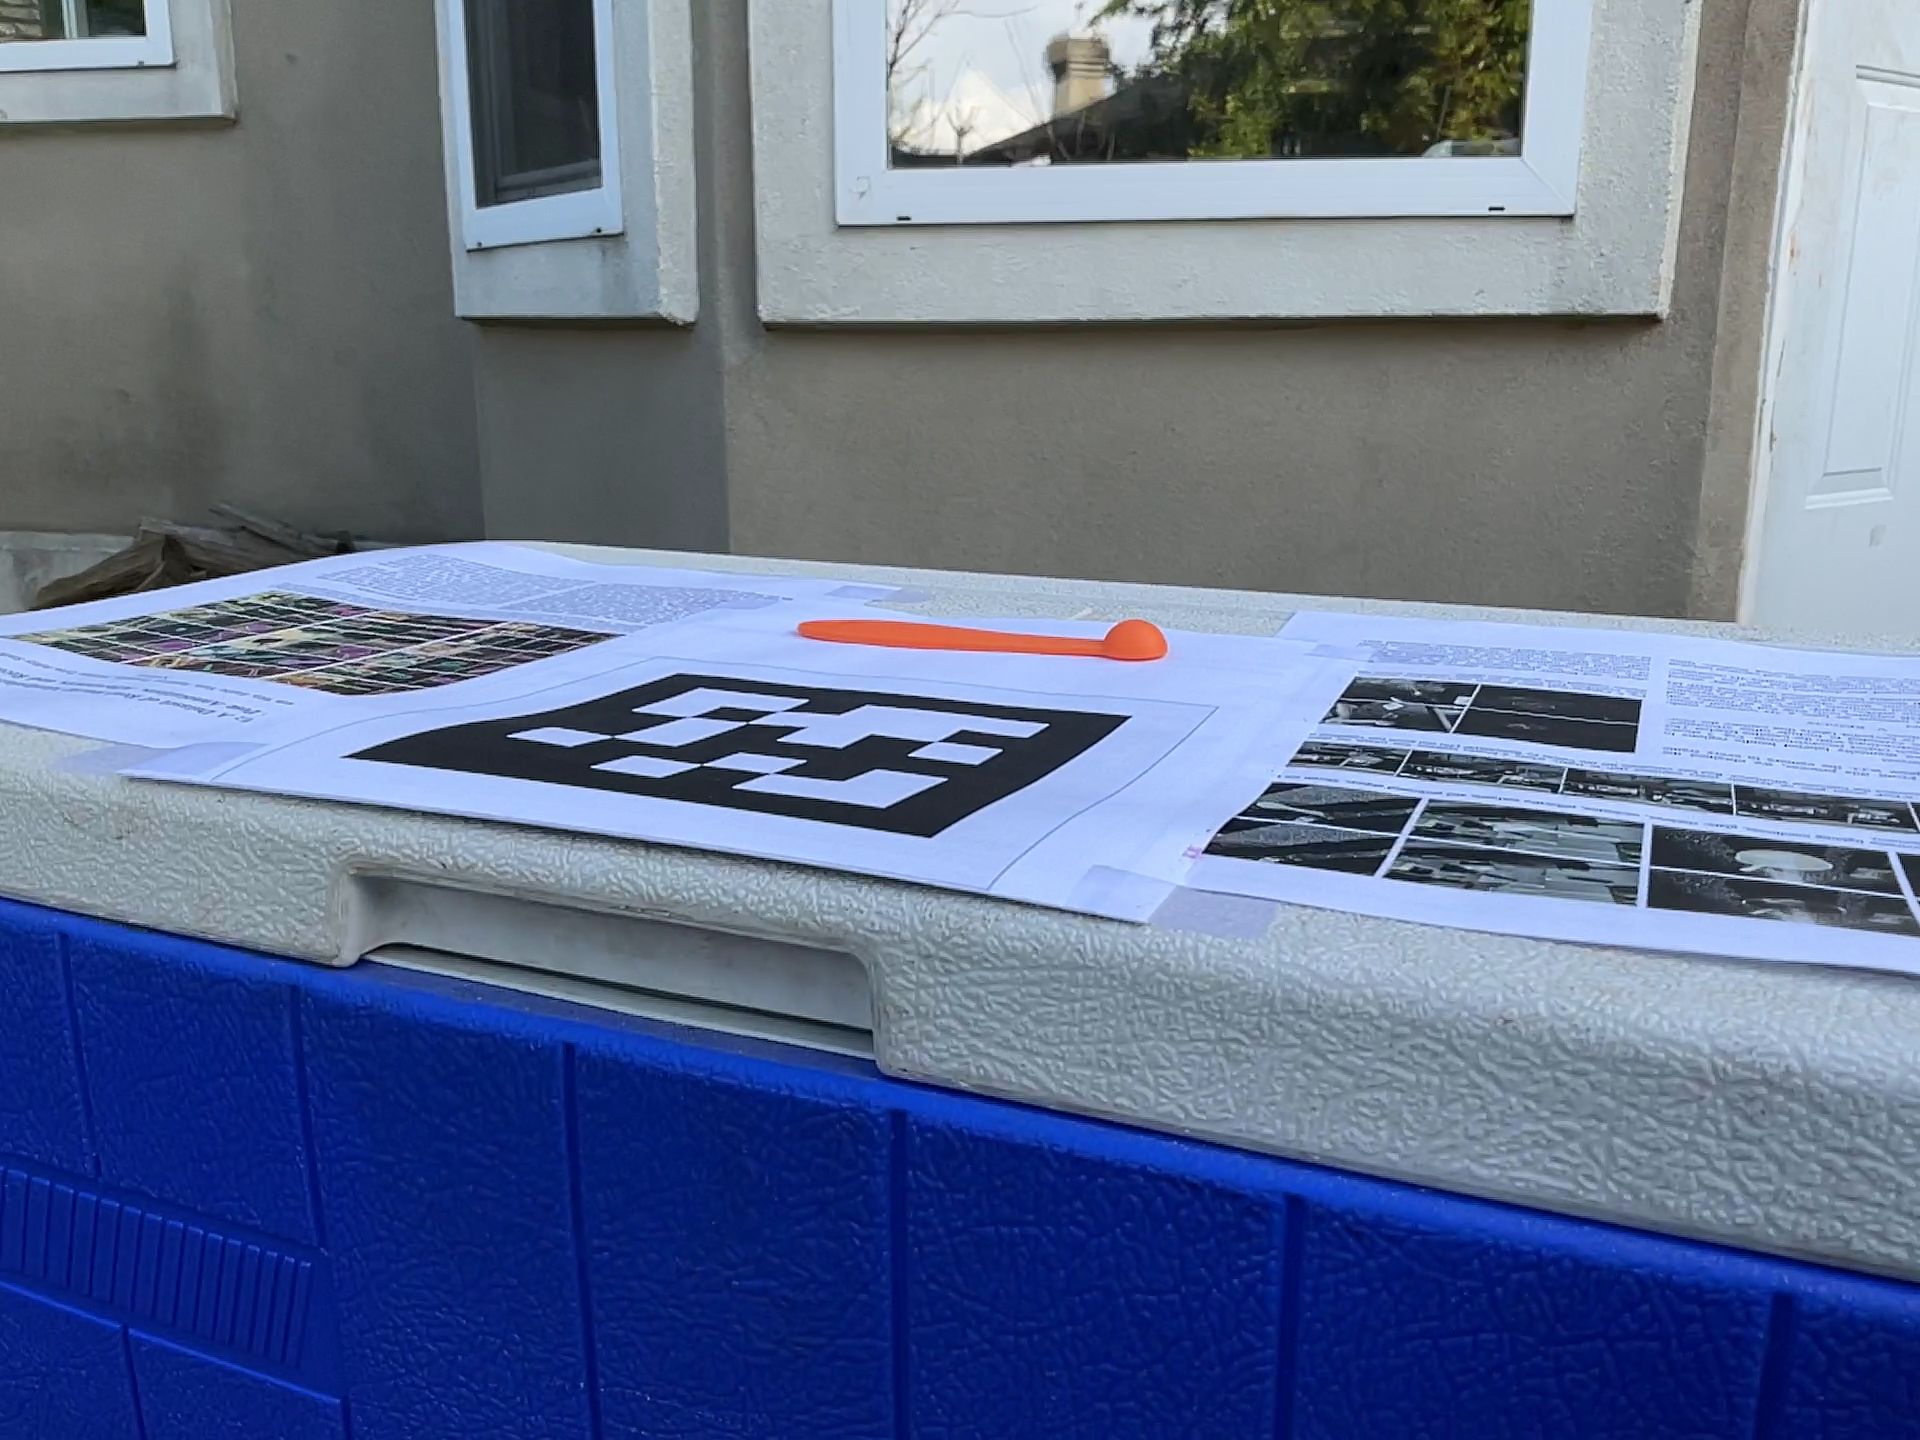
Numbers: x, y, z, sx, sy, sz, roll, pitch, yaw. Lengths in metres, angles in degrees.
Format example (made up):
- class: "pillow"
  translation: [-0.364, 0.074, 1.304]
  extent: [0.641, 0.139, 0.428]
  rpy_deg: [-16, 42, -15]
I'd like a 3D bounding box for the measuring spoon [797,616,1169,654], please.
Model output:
- class: "measuring spoon"
  translation: [0.005, -0.028, 0.481]
  extent: [0.117, 0.011, 0.021]
  rpy_deg: [4, 9, 19]
